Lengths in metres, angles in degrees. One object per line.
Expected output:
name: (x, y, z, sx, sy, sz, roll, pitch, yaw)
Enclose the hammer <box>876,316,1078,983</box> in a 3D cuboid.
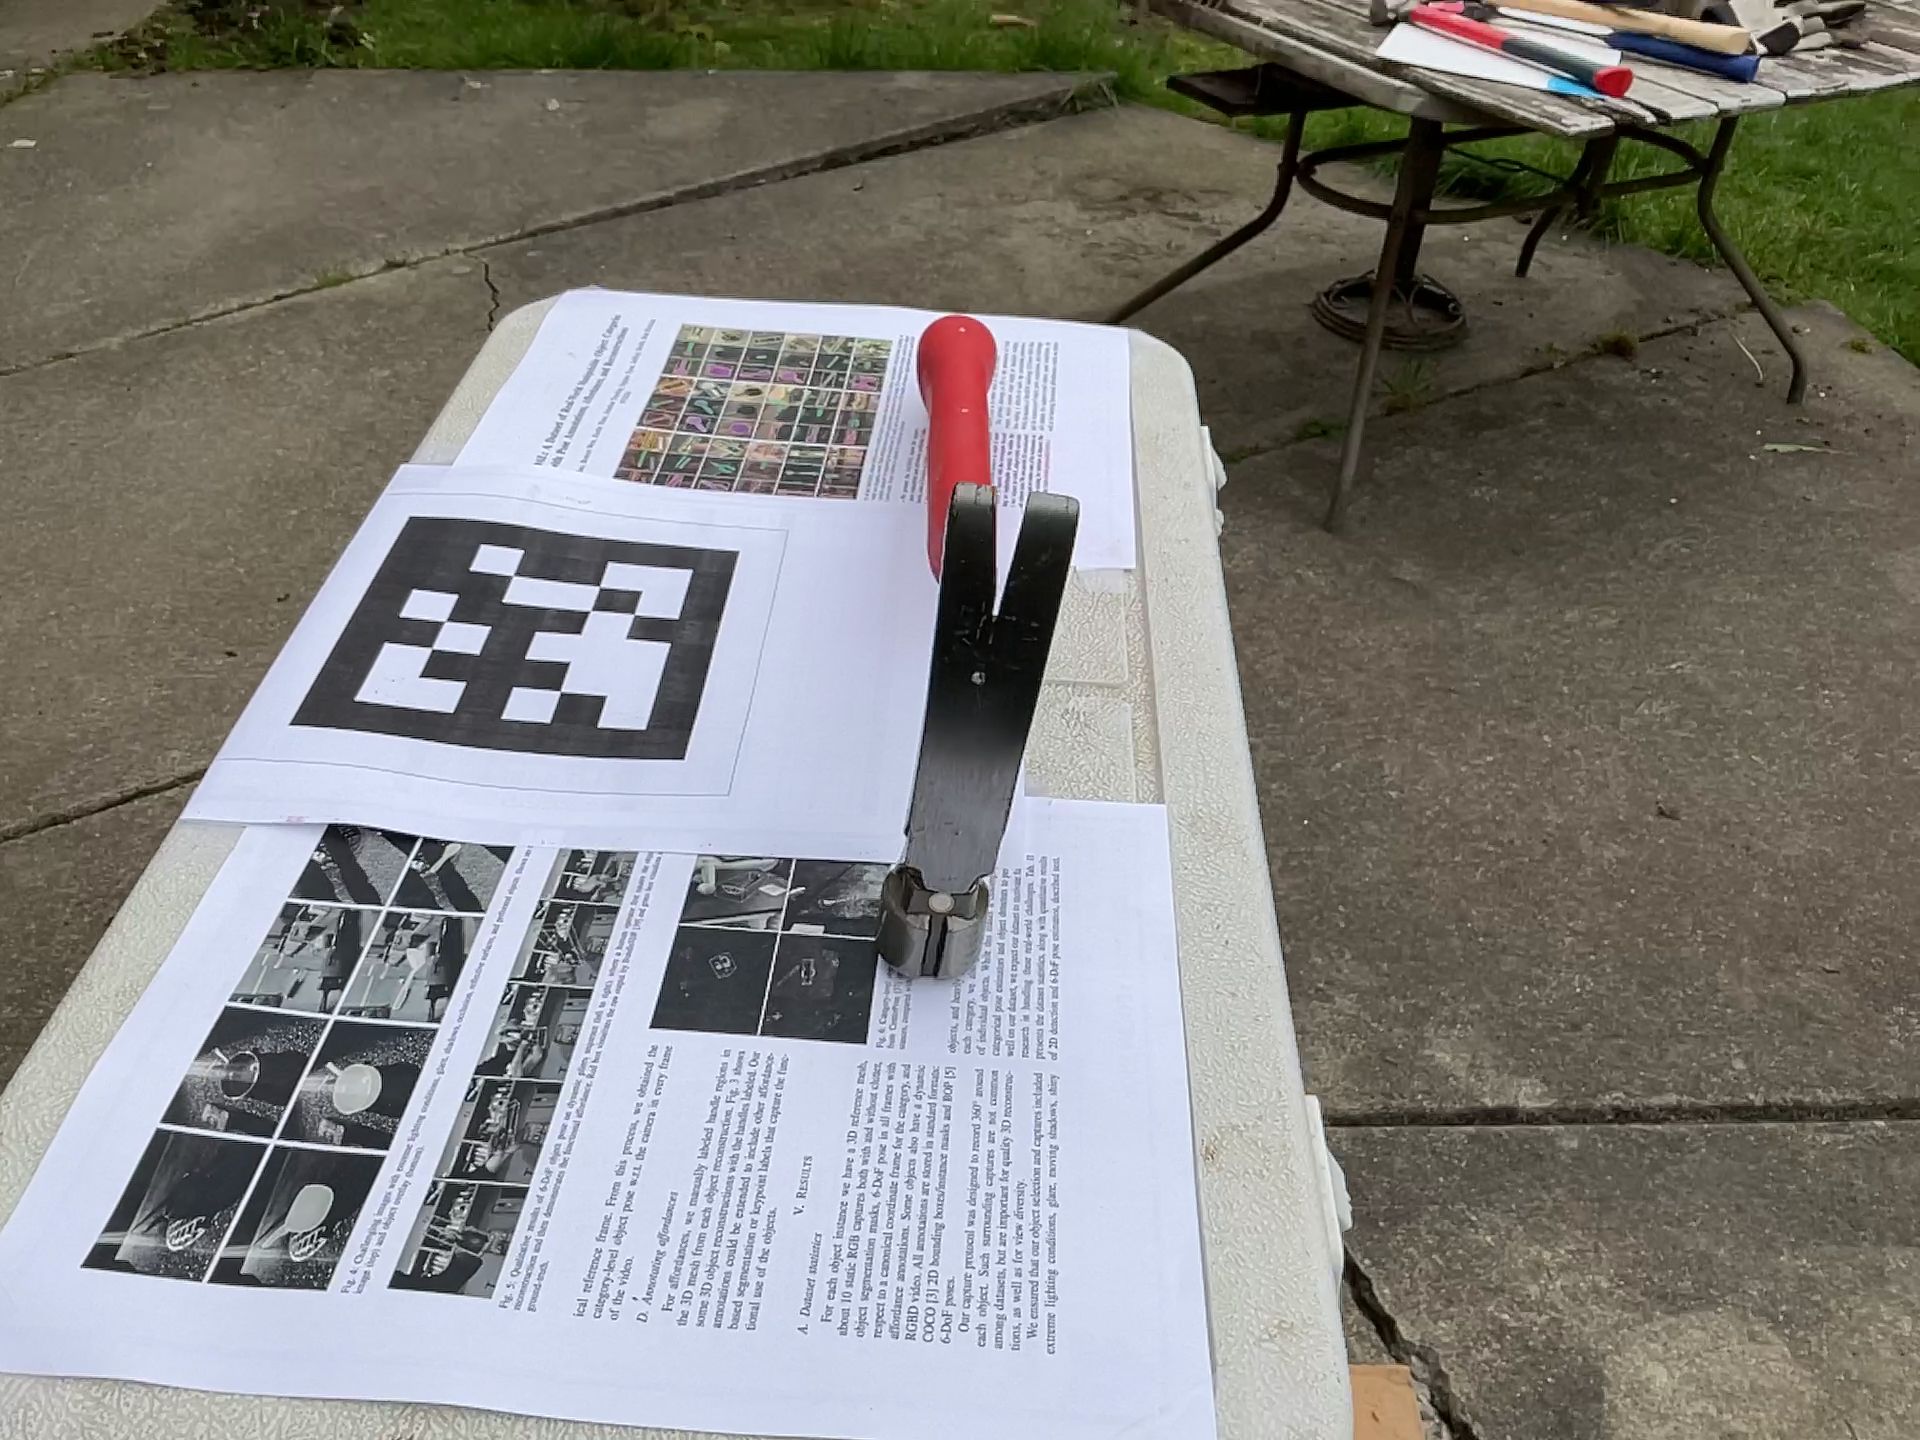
hammer: (0.001, -0.080, 0.558, 0.036, 0.149, 0.359, 7, 32, -5)
